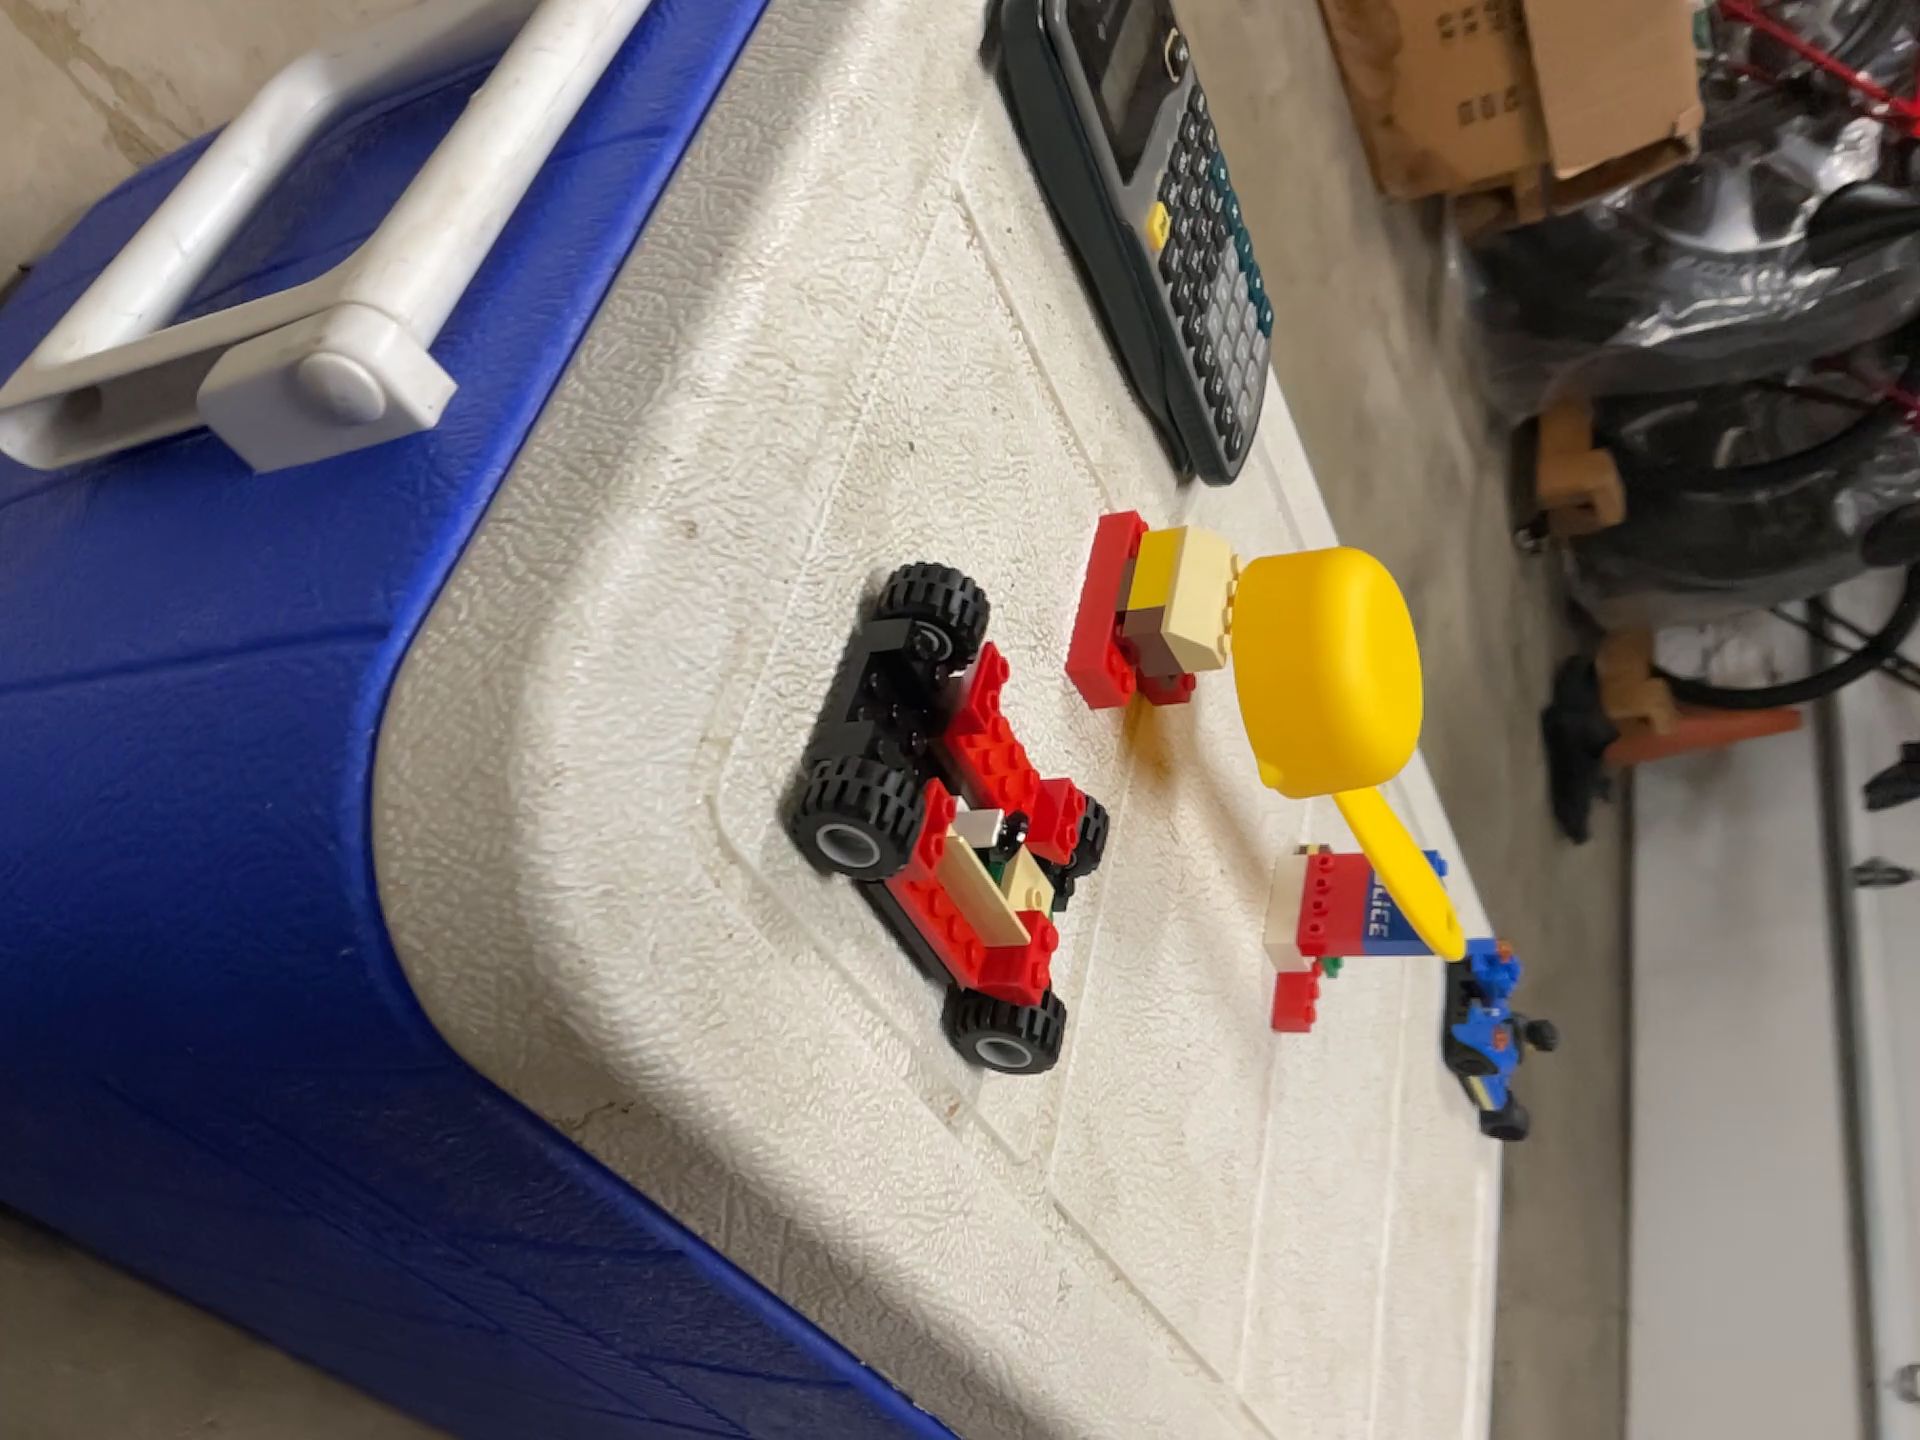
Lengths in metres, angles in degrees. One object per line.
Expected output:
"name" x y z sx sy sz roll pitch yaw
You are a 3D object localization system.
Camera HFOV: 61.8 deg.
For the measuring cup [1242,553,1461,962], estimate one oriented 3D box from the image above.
"measuring cup" 0.115 0.018 0.416 0.156 0.029 0.062 51 43 -38
